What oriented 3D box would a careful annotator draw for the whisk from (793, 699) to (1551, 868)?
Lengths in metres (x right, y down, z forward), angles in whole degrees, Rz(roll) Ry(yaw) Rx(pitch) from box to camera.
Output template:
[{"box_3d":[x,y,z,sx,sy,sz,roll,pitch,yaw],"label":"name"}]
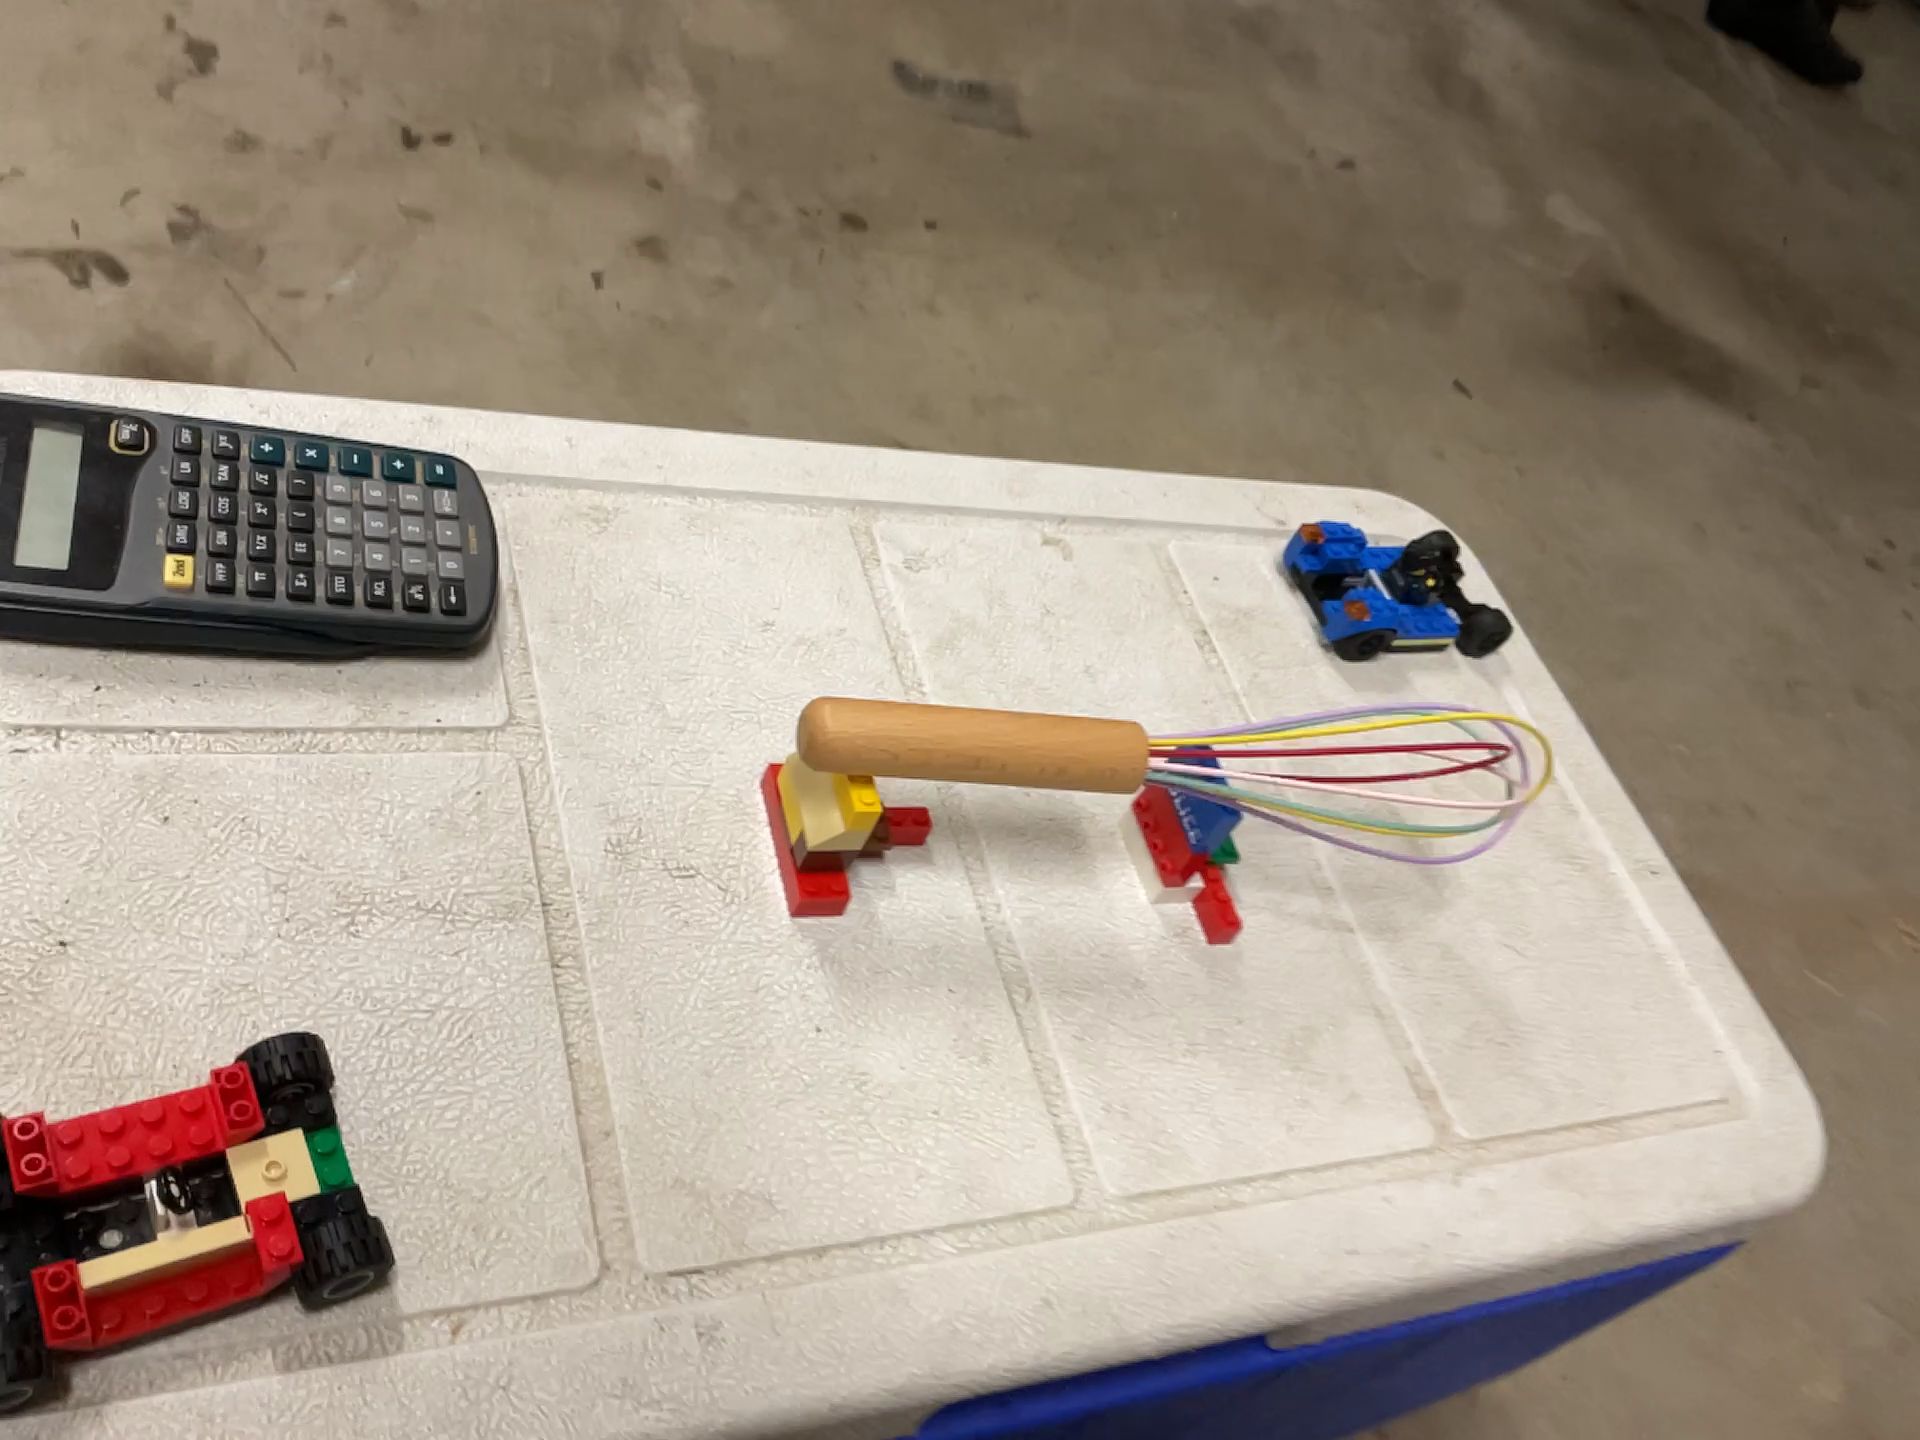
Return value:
[{"box_3d":[0.072,0.009,0.470,0.245,0.047,0.051,4,63,-20],"label":"whisk"}]
